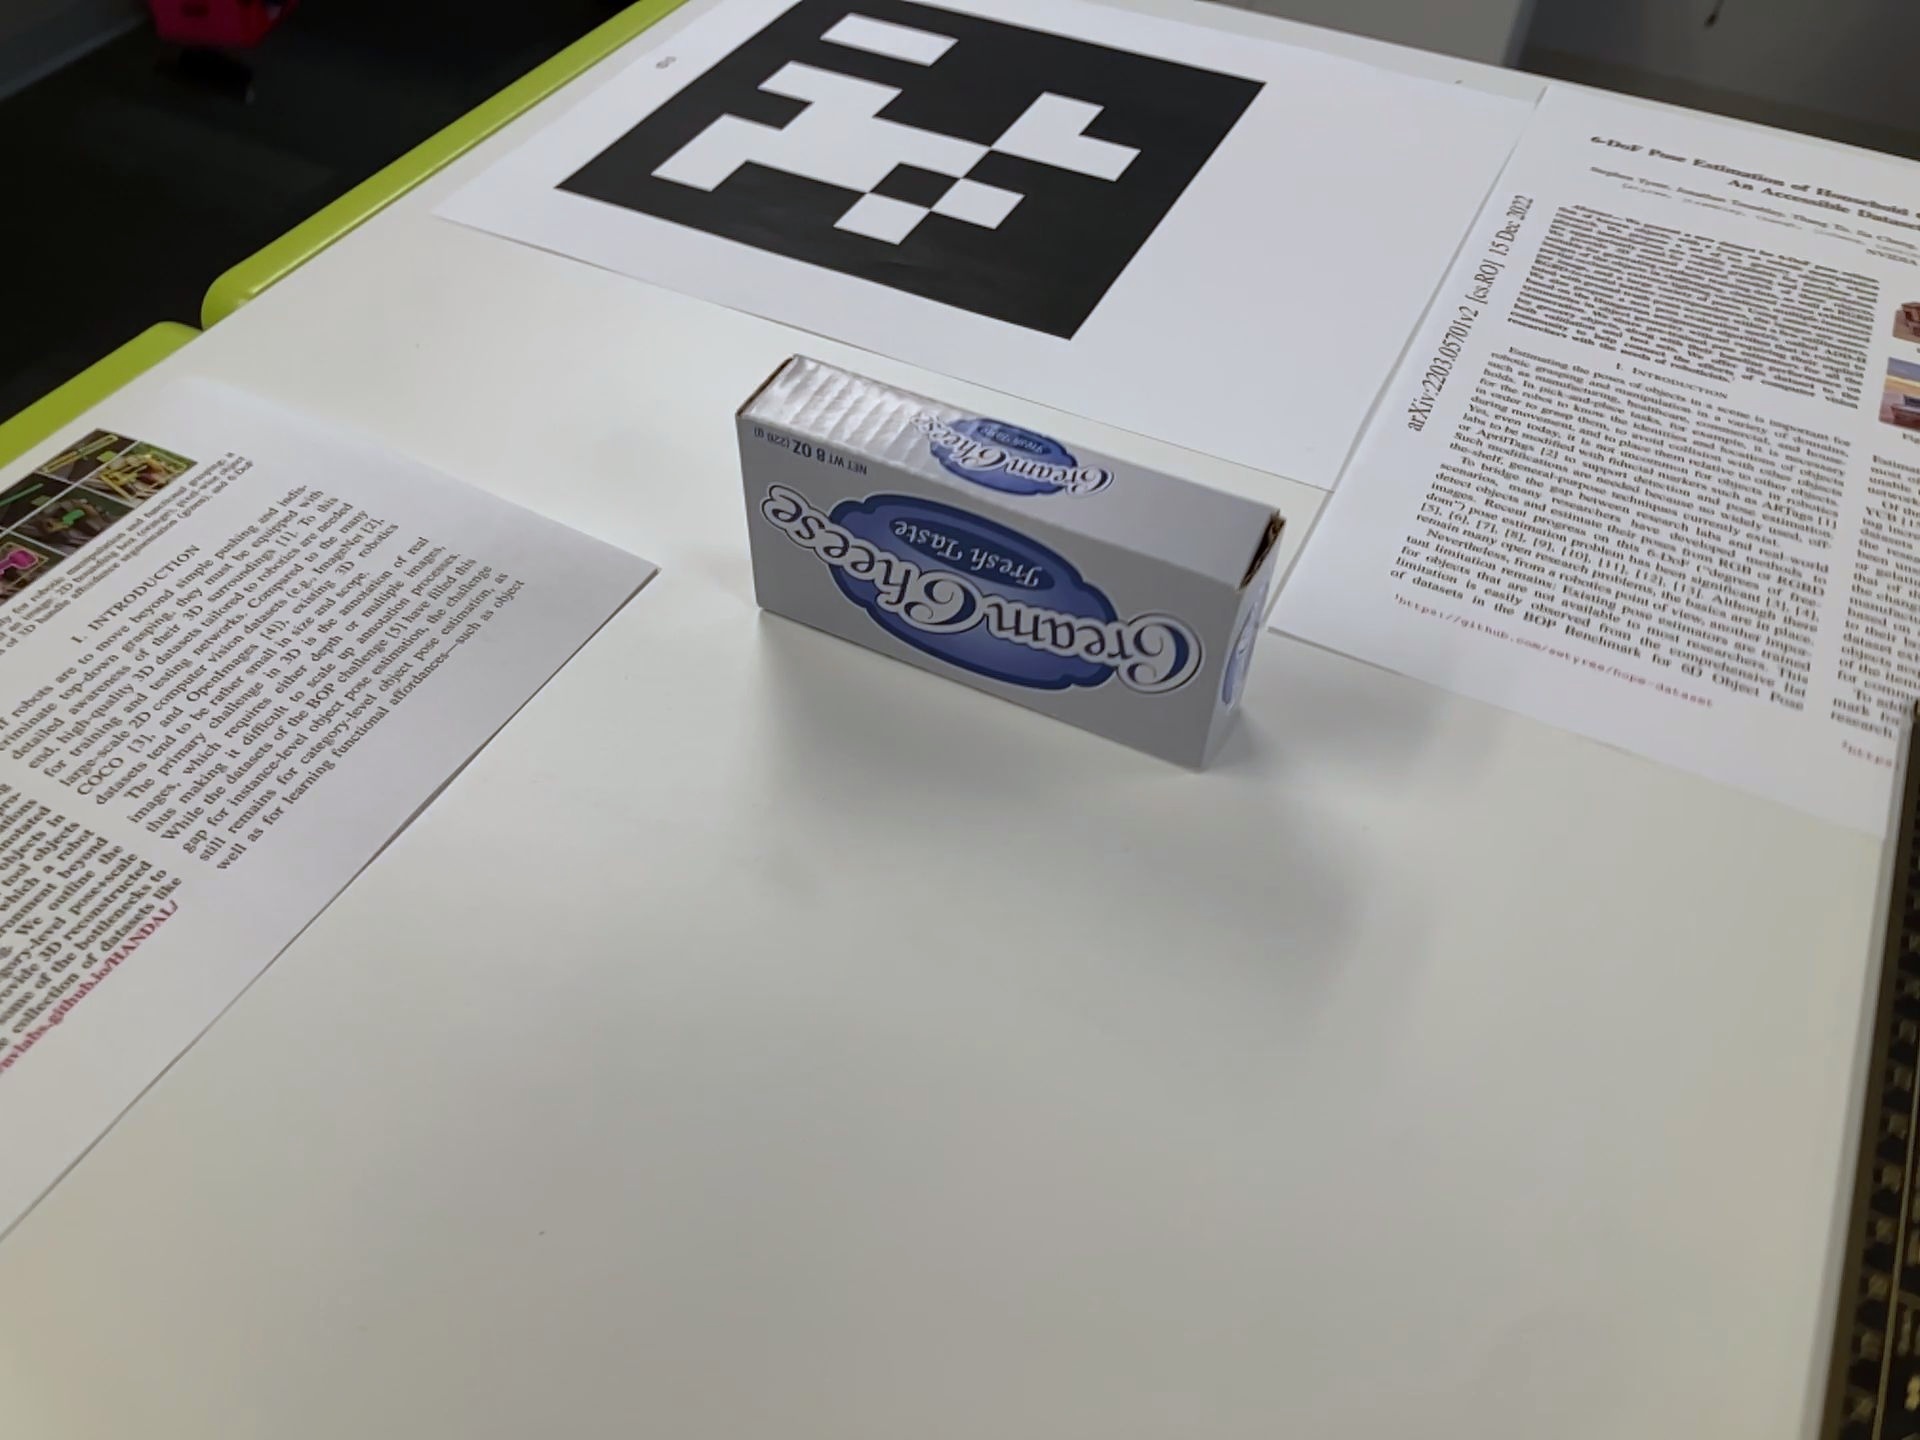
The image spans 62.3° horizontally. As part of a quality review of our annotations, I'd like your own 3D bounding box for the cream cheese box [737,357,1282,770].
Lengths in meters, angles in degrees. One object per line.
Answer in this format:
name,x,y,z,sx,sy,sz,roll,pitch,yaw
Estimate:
cream cheese box,0.008,-0.031,0.315,0.104,0.053,0.024,21,52,16
